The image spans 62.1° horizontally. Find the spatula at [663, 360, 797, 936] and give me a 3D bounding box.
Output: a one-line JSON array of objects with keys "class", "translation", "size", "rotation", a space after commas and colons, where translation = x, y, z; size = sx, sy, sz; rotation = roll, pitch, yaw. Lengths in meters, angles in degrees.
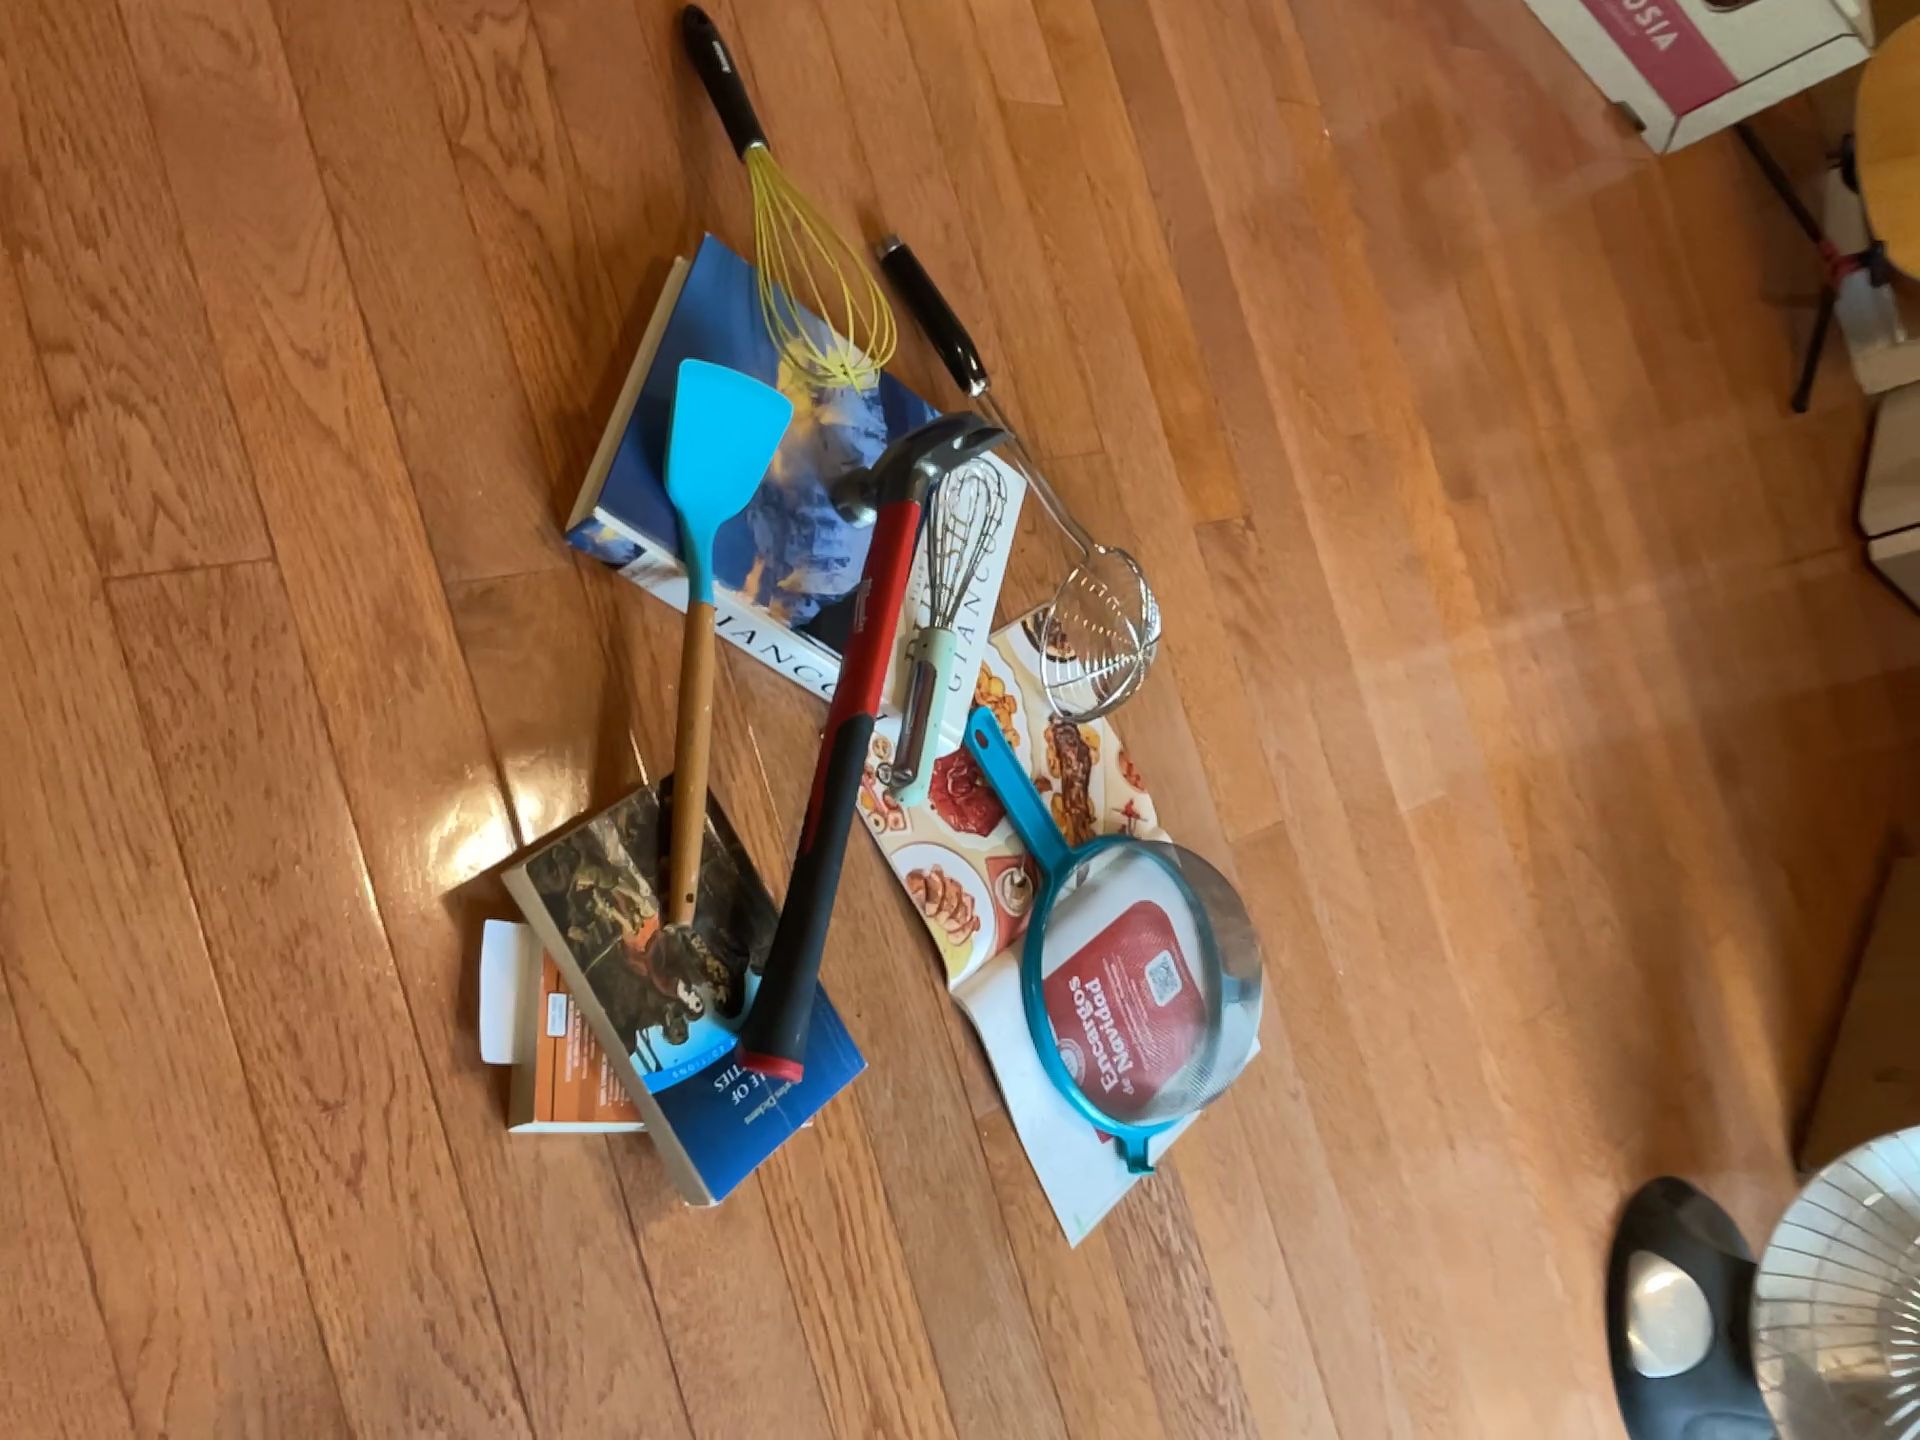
[{"class": "spatula", "translation": [-0.140, -0.041, 0.880], "size": [0.082, 0.044, 0.318], "rotation": [17, 66, -40]}]

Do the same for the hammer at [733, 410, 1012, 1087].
[{"class": "hammer", "translation": [-0.056, 0.008, 0.888], "size": [0.038, 0.143, 0.387], "rotation": [25, 64, -31]}]

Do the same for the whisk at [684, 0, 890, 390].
[{"class": "whisk", "translation": [-0.121, -0.338, 1.010], "size": [0.080, 0.067, 0.312], "rotation": [-13, 71, -29]}]

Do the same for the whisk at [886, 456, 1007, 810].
[{"class": "whisk", "translation": [-0.014, -0.061, 1.008], "size": [0.059, 0.057, 0.247], "rotation": [51, 46, -61]}]

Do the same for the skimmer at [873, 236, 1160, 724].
[{"class": "skimmer", "translation": [0.028, -0.170, 1.139], "size": [0.127, 0.090, 0.363], "rotation": [-31, 88, -41]}]

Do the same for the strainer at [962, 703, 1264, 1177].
[{"class": "strainer", "translation": [0.113, 0.127, 1.064], "size": [0.211, 0.095, 0.340], "rotation": [-47, 116, -40]}]
